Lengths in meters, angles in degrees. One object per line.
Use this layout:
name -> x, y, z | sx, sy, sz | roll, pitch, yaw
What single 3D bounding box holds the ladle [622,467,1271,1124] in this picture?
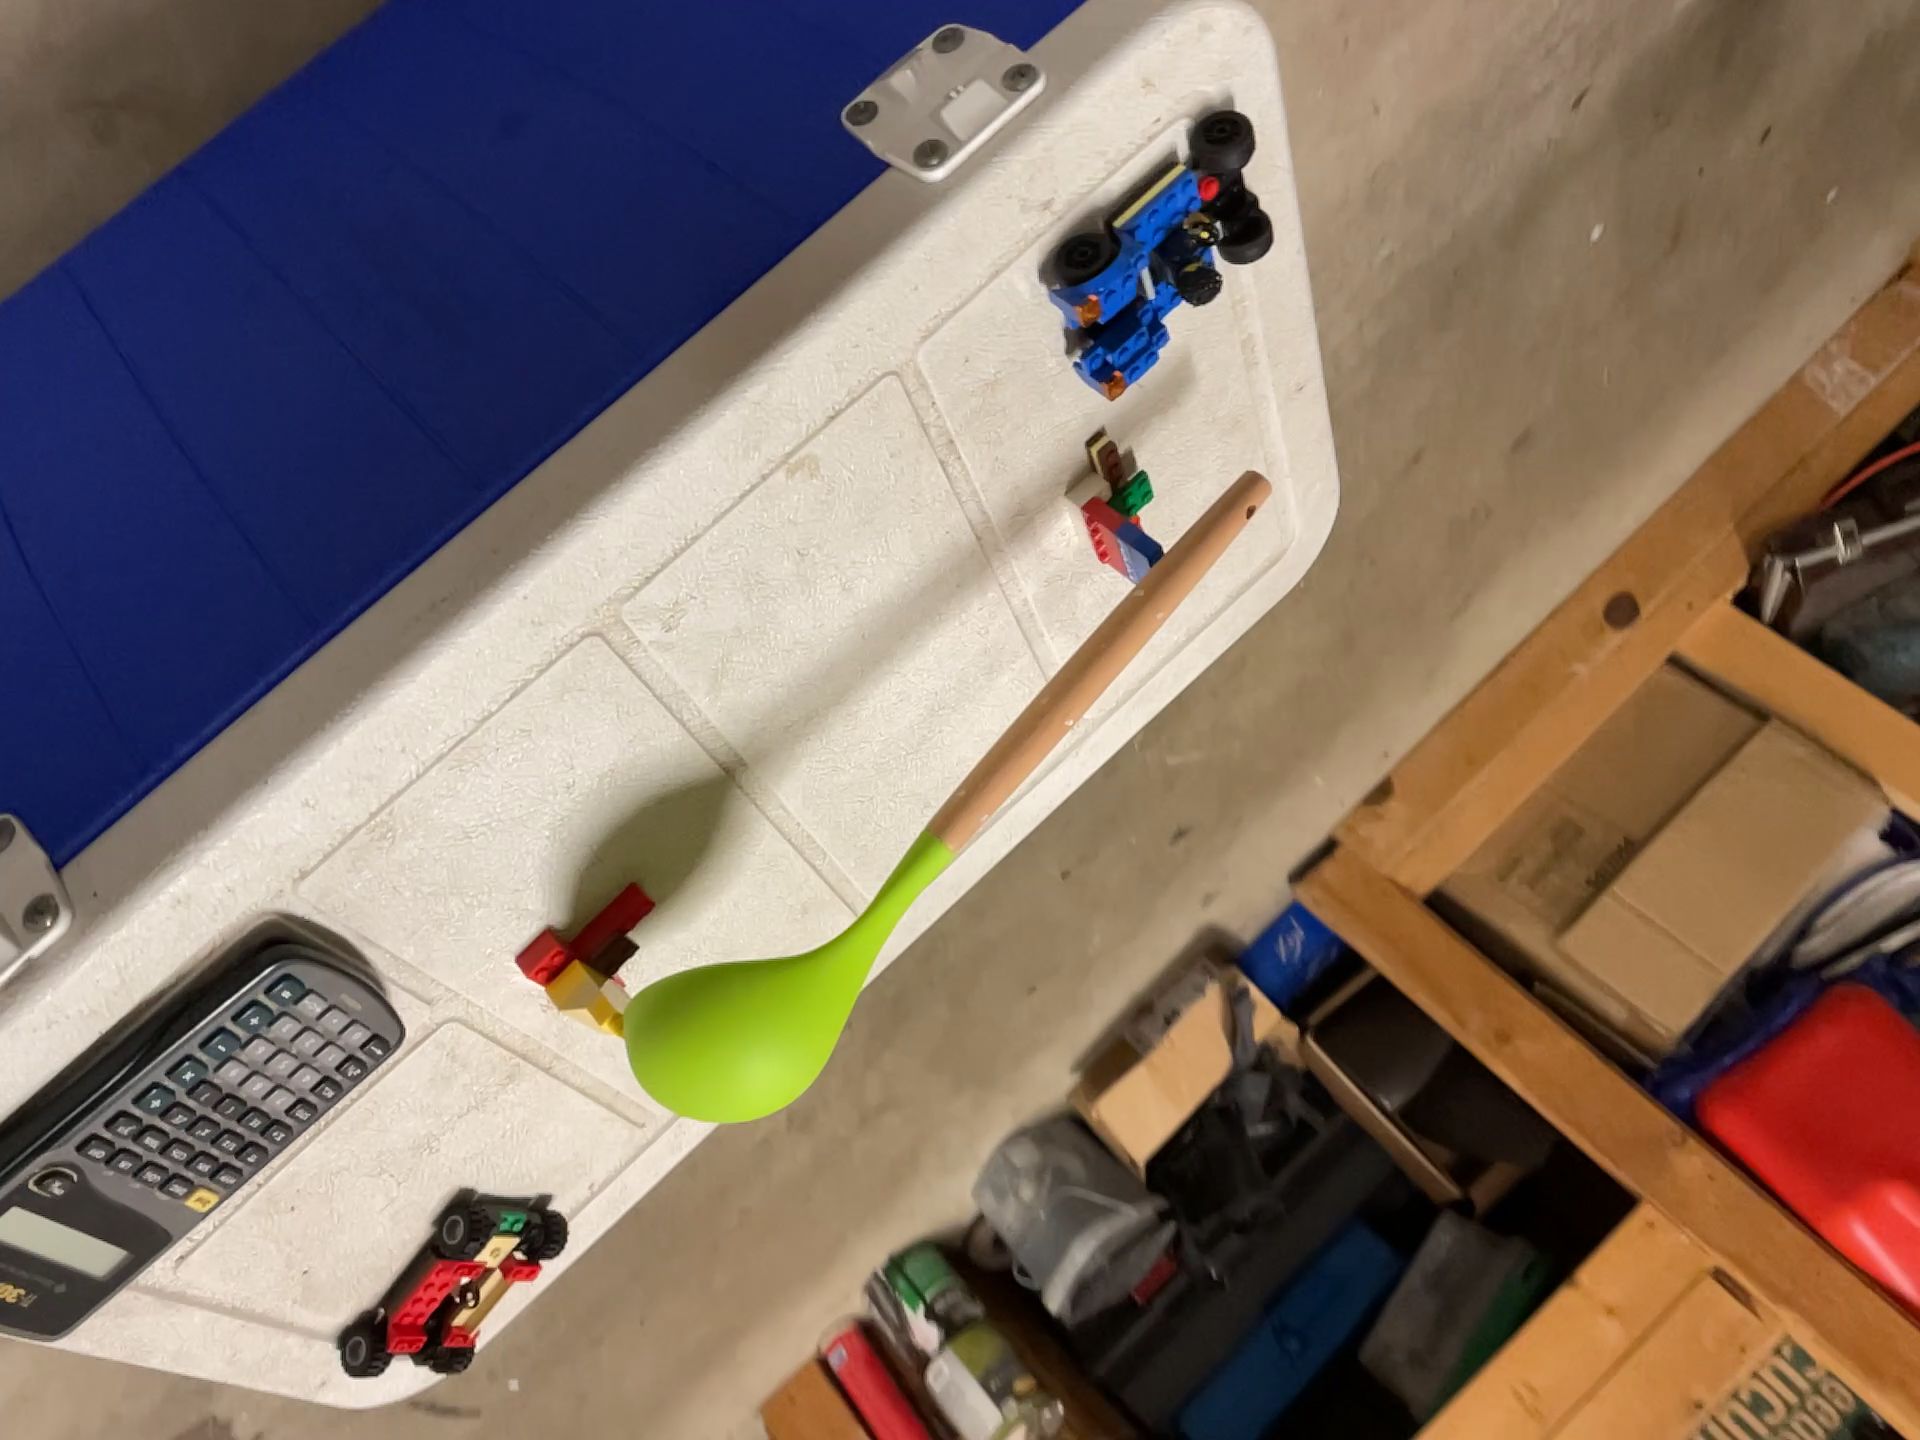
ladle -> 0.001, 0.019, 0.588 | 0.320, 0.062, 0.078 | -48, 142, -10
